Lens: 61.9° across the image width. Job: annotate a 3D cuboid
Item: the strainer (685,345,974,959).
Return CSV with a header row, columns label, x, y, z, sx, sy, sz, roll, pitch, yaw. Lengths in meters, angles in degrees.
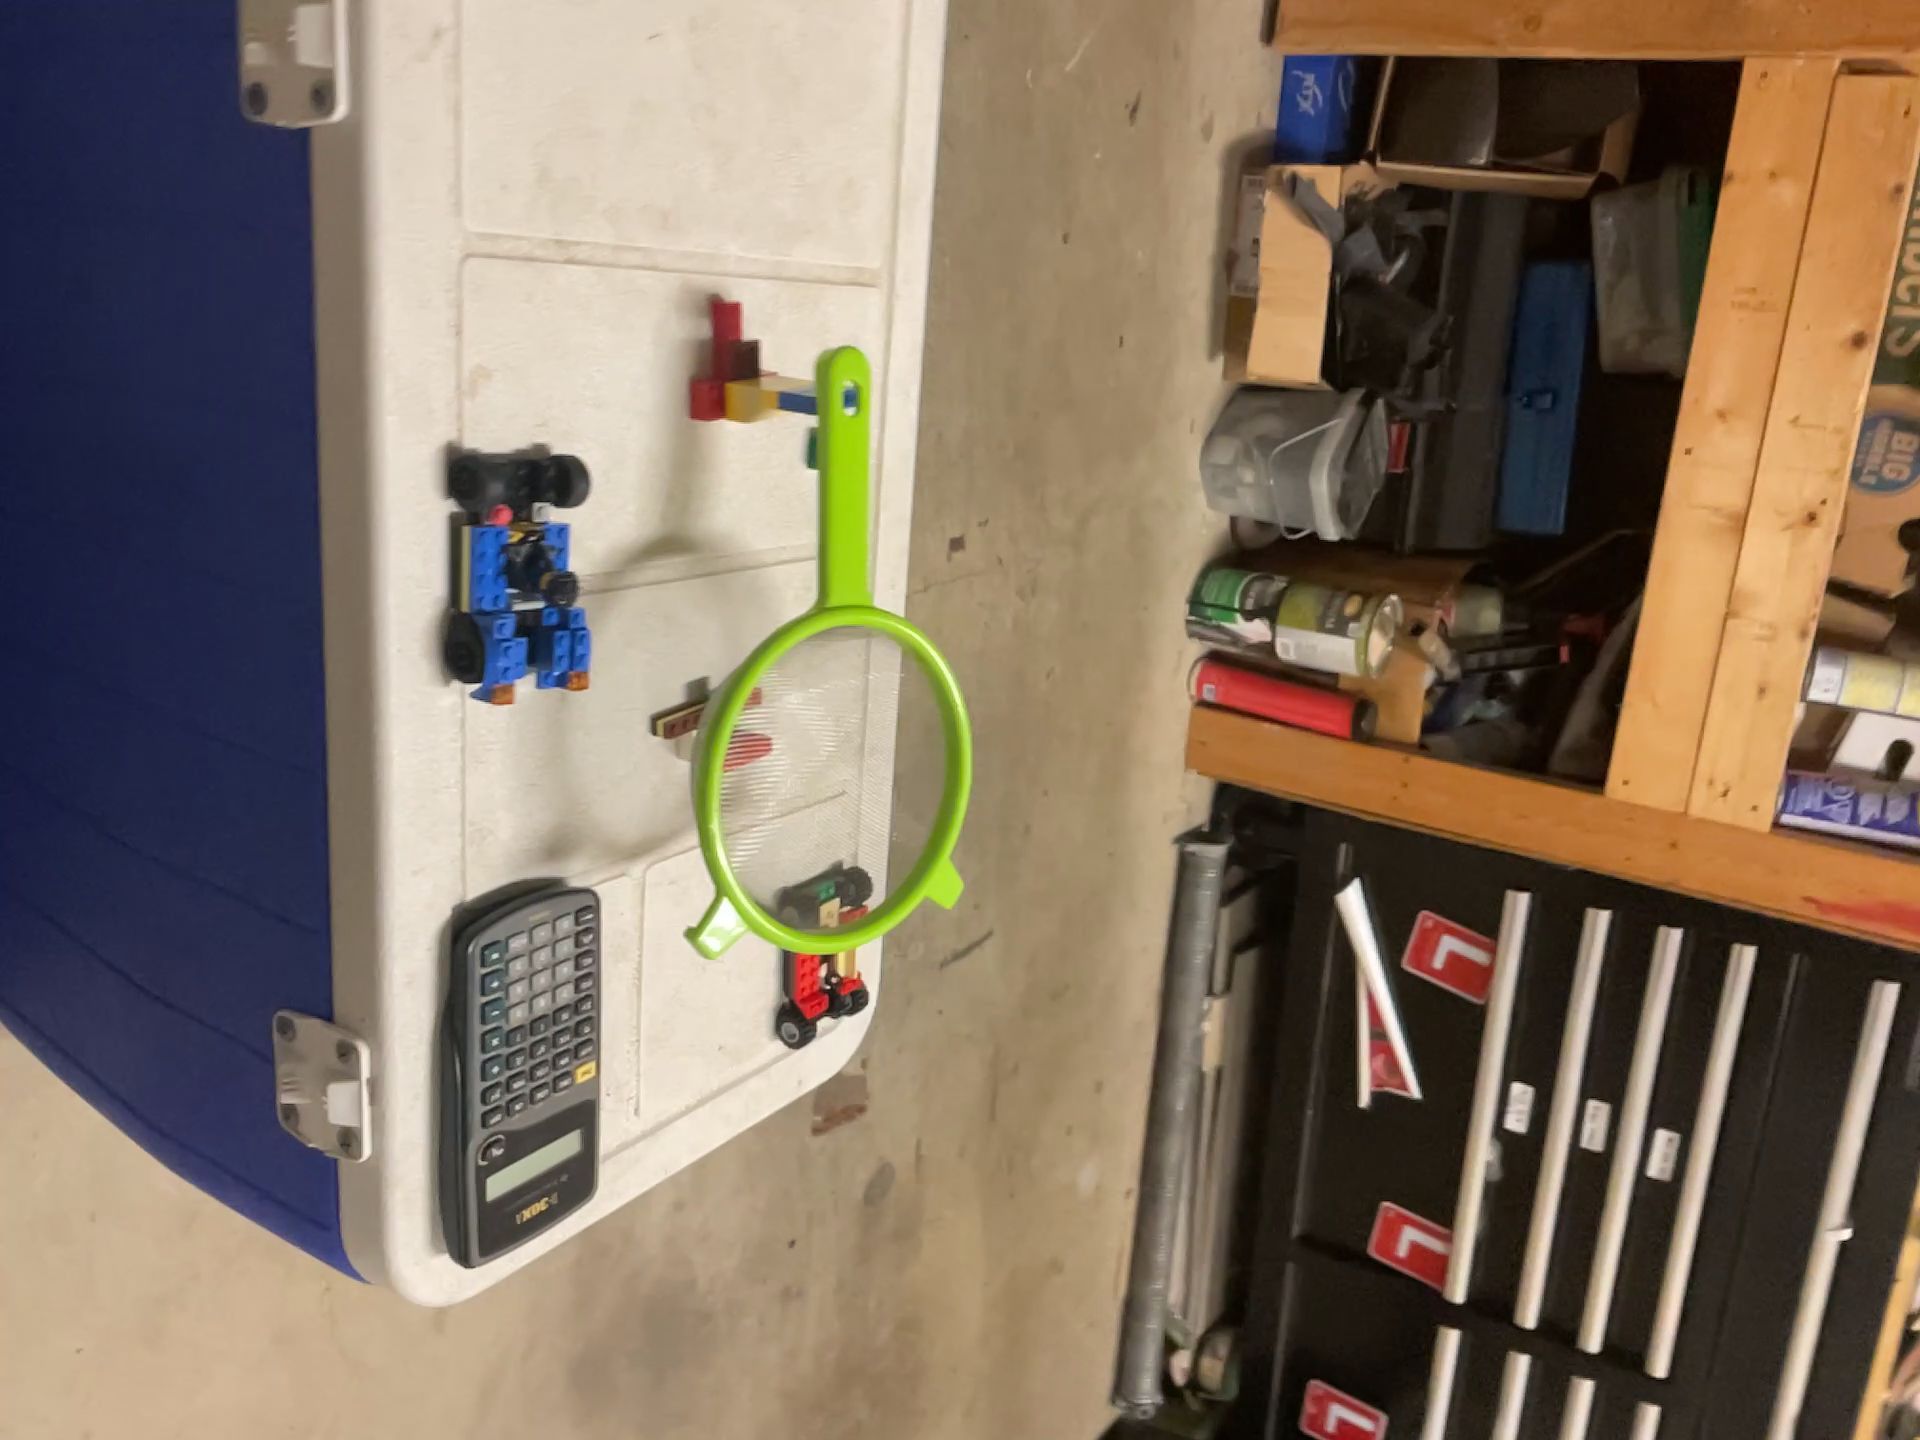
label,x,y,z,sx,sy,sz,roll,pitch,yaw
strainer,-0.068,-0.030,0.695,0.152,0.069,0.256,-6,99,-45
